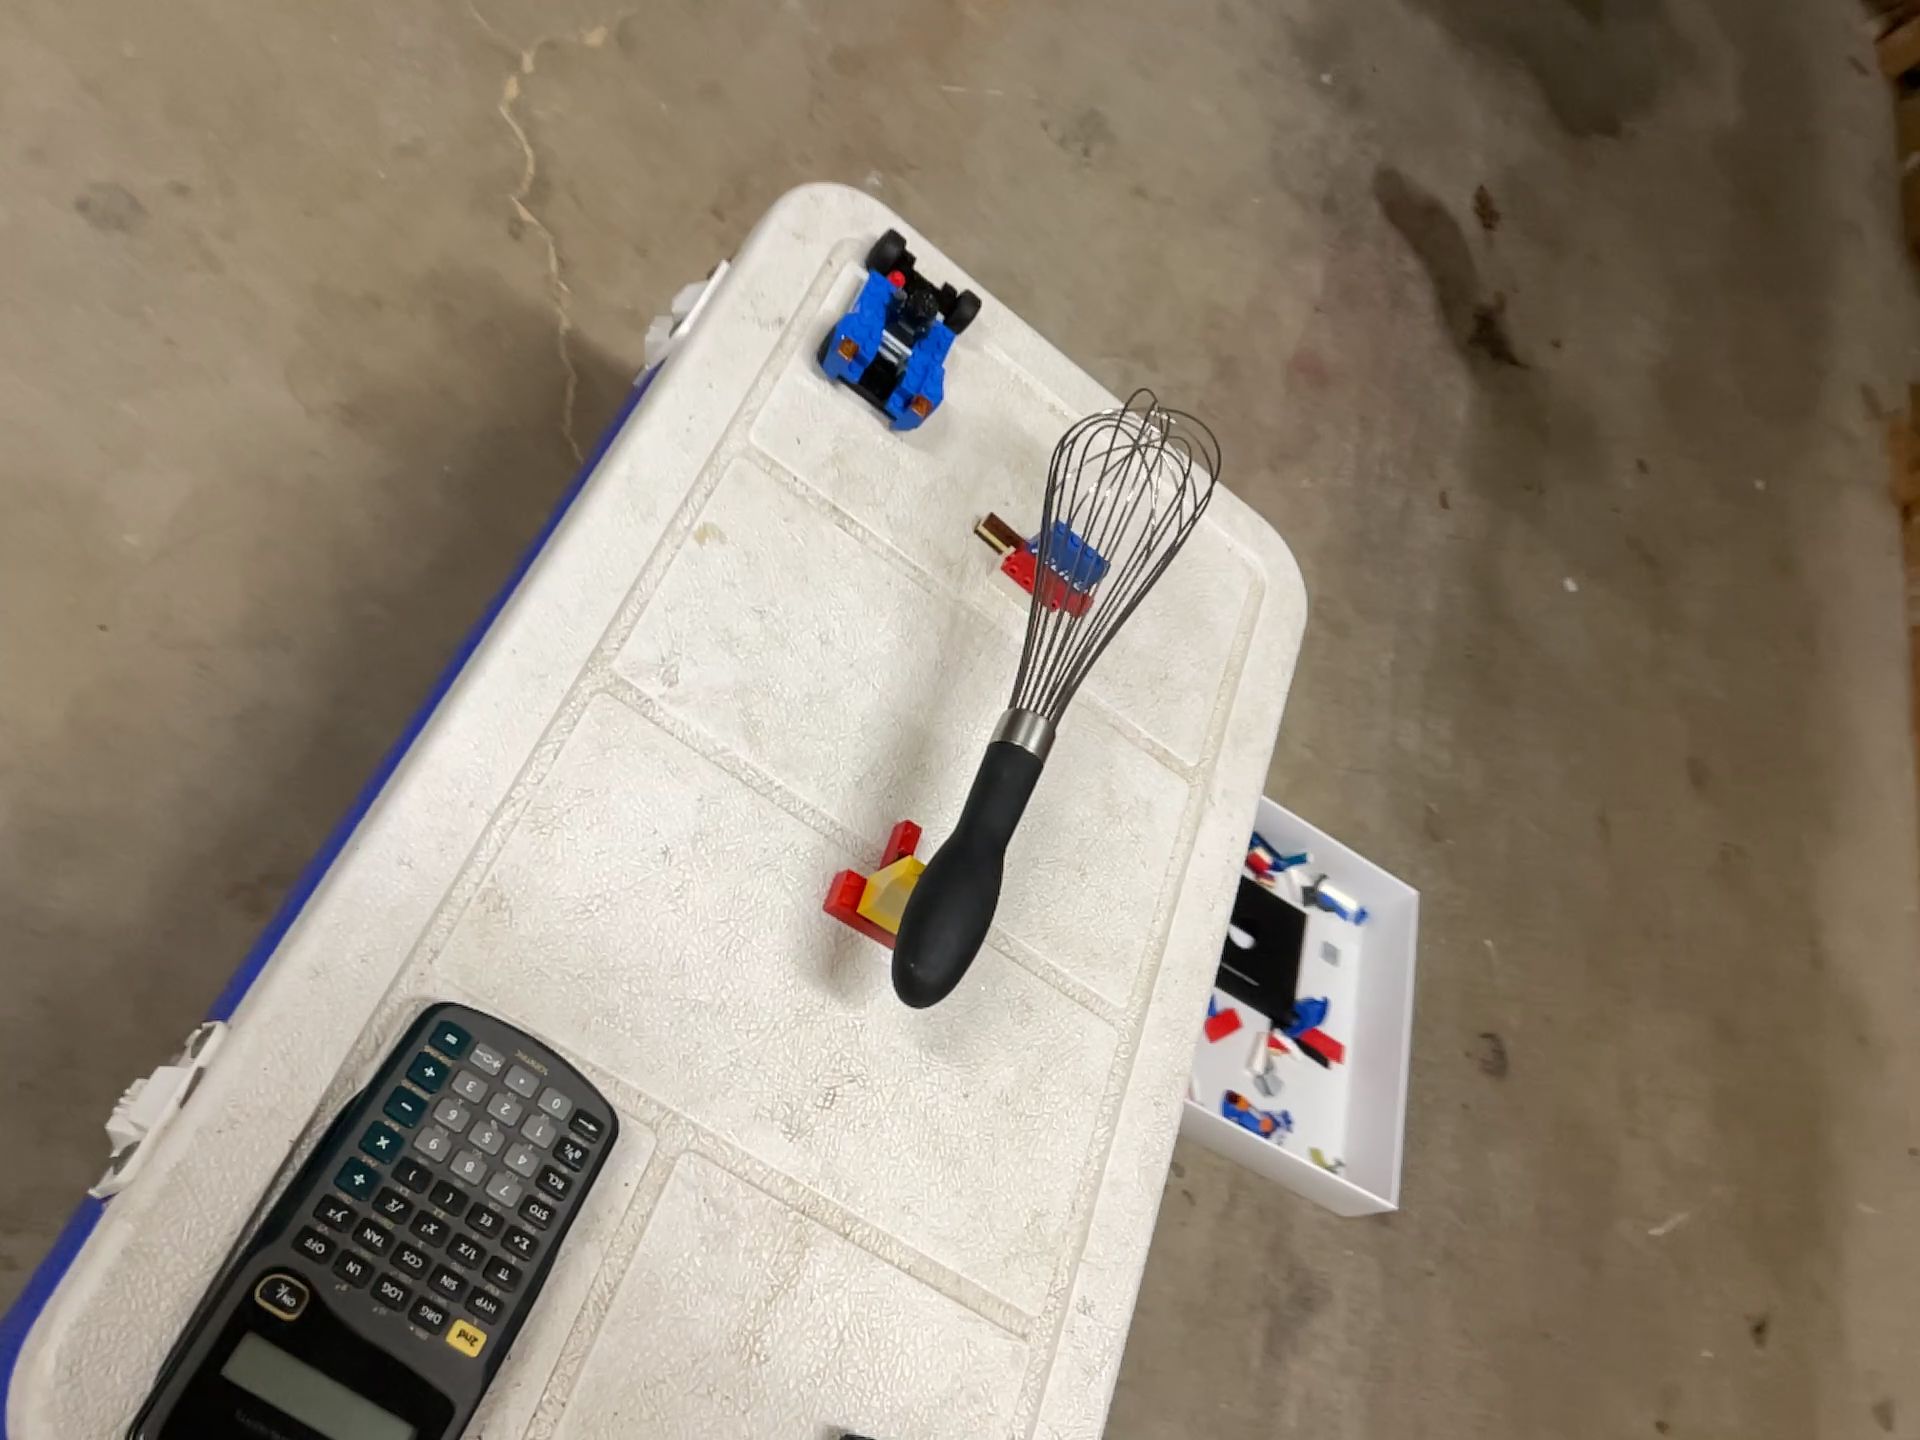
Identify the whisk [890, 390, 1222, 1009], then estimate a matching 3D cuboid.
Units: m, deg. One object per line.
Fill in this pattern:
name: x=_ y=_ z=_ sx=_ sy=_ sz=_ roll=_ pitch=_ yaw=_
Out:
whisk: x=0.035 y=-0.017 z=0.609 sx=0.070 sy=0.070 sz=0.285 roll=37 pitch=59 yaw=-23
